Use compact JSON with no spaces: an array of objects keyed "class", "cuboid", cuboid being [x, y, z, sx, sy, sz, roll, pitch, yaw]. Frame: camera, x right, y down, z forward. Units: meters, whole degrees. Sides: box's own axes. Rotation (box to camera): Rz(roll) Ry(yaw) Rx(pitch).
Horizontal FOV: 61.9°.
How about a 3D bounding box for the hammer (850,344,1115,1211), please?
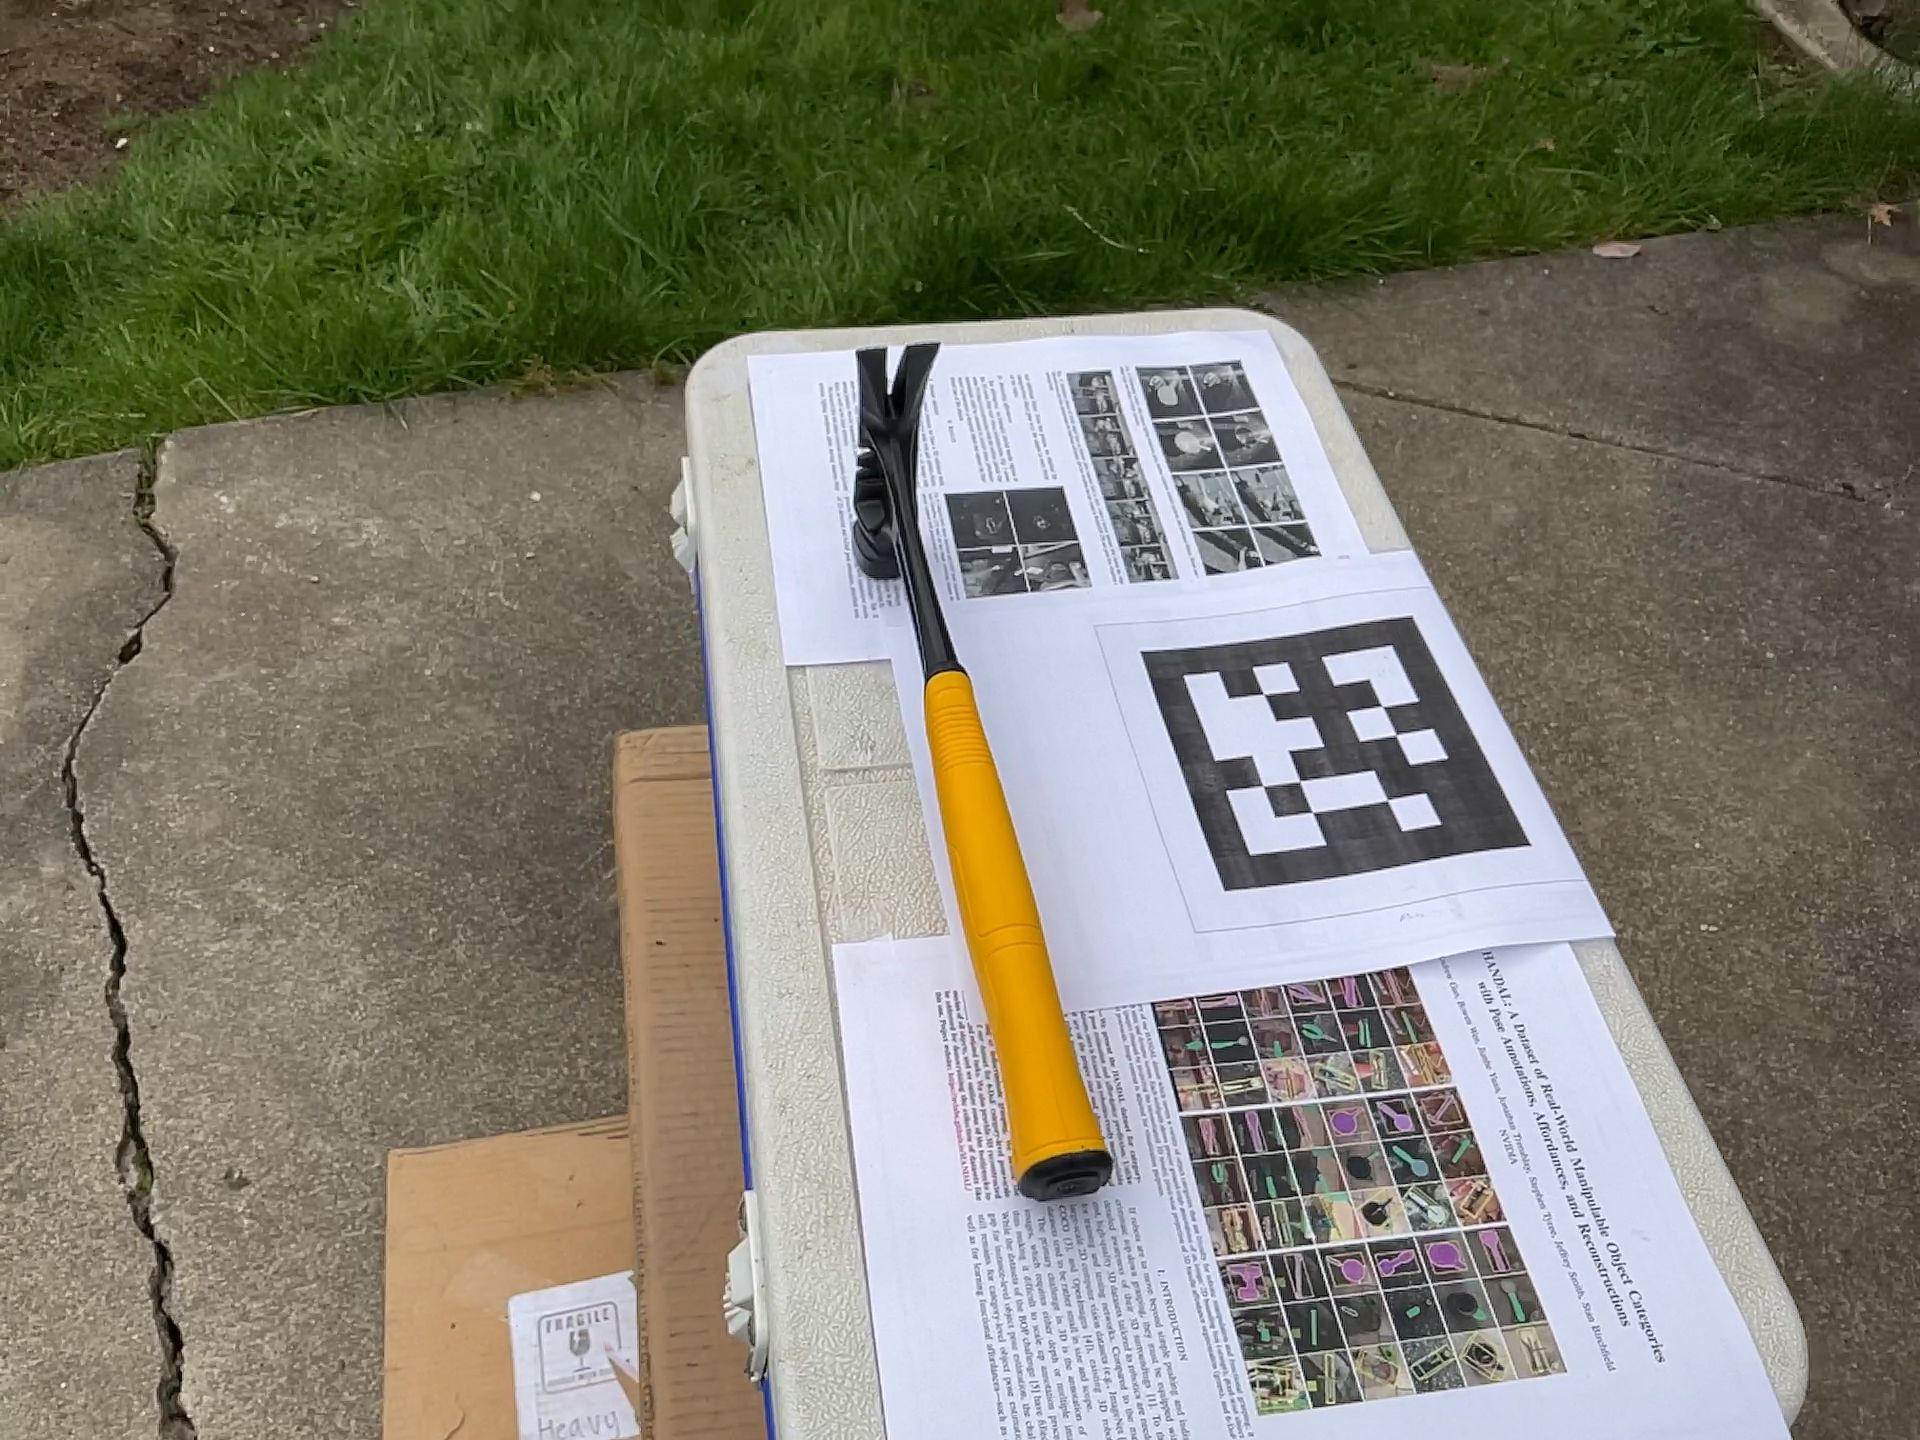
[{"class":"hammer","cuboid":[0.002,0.013,0.602,0.034,0.127,0.337,-7,56,-11]}]
